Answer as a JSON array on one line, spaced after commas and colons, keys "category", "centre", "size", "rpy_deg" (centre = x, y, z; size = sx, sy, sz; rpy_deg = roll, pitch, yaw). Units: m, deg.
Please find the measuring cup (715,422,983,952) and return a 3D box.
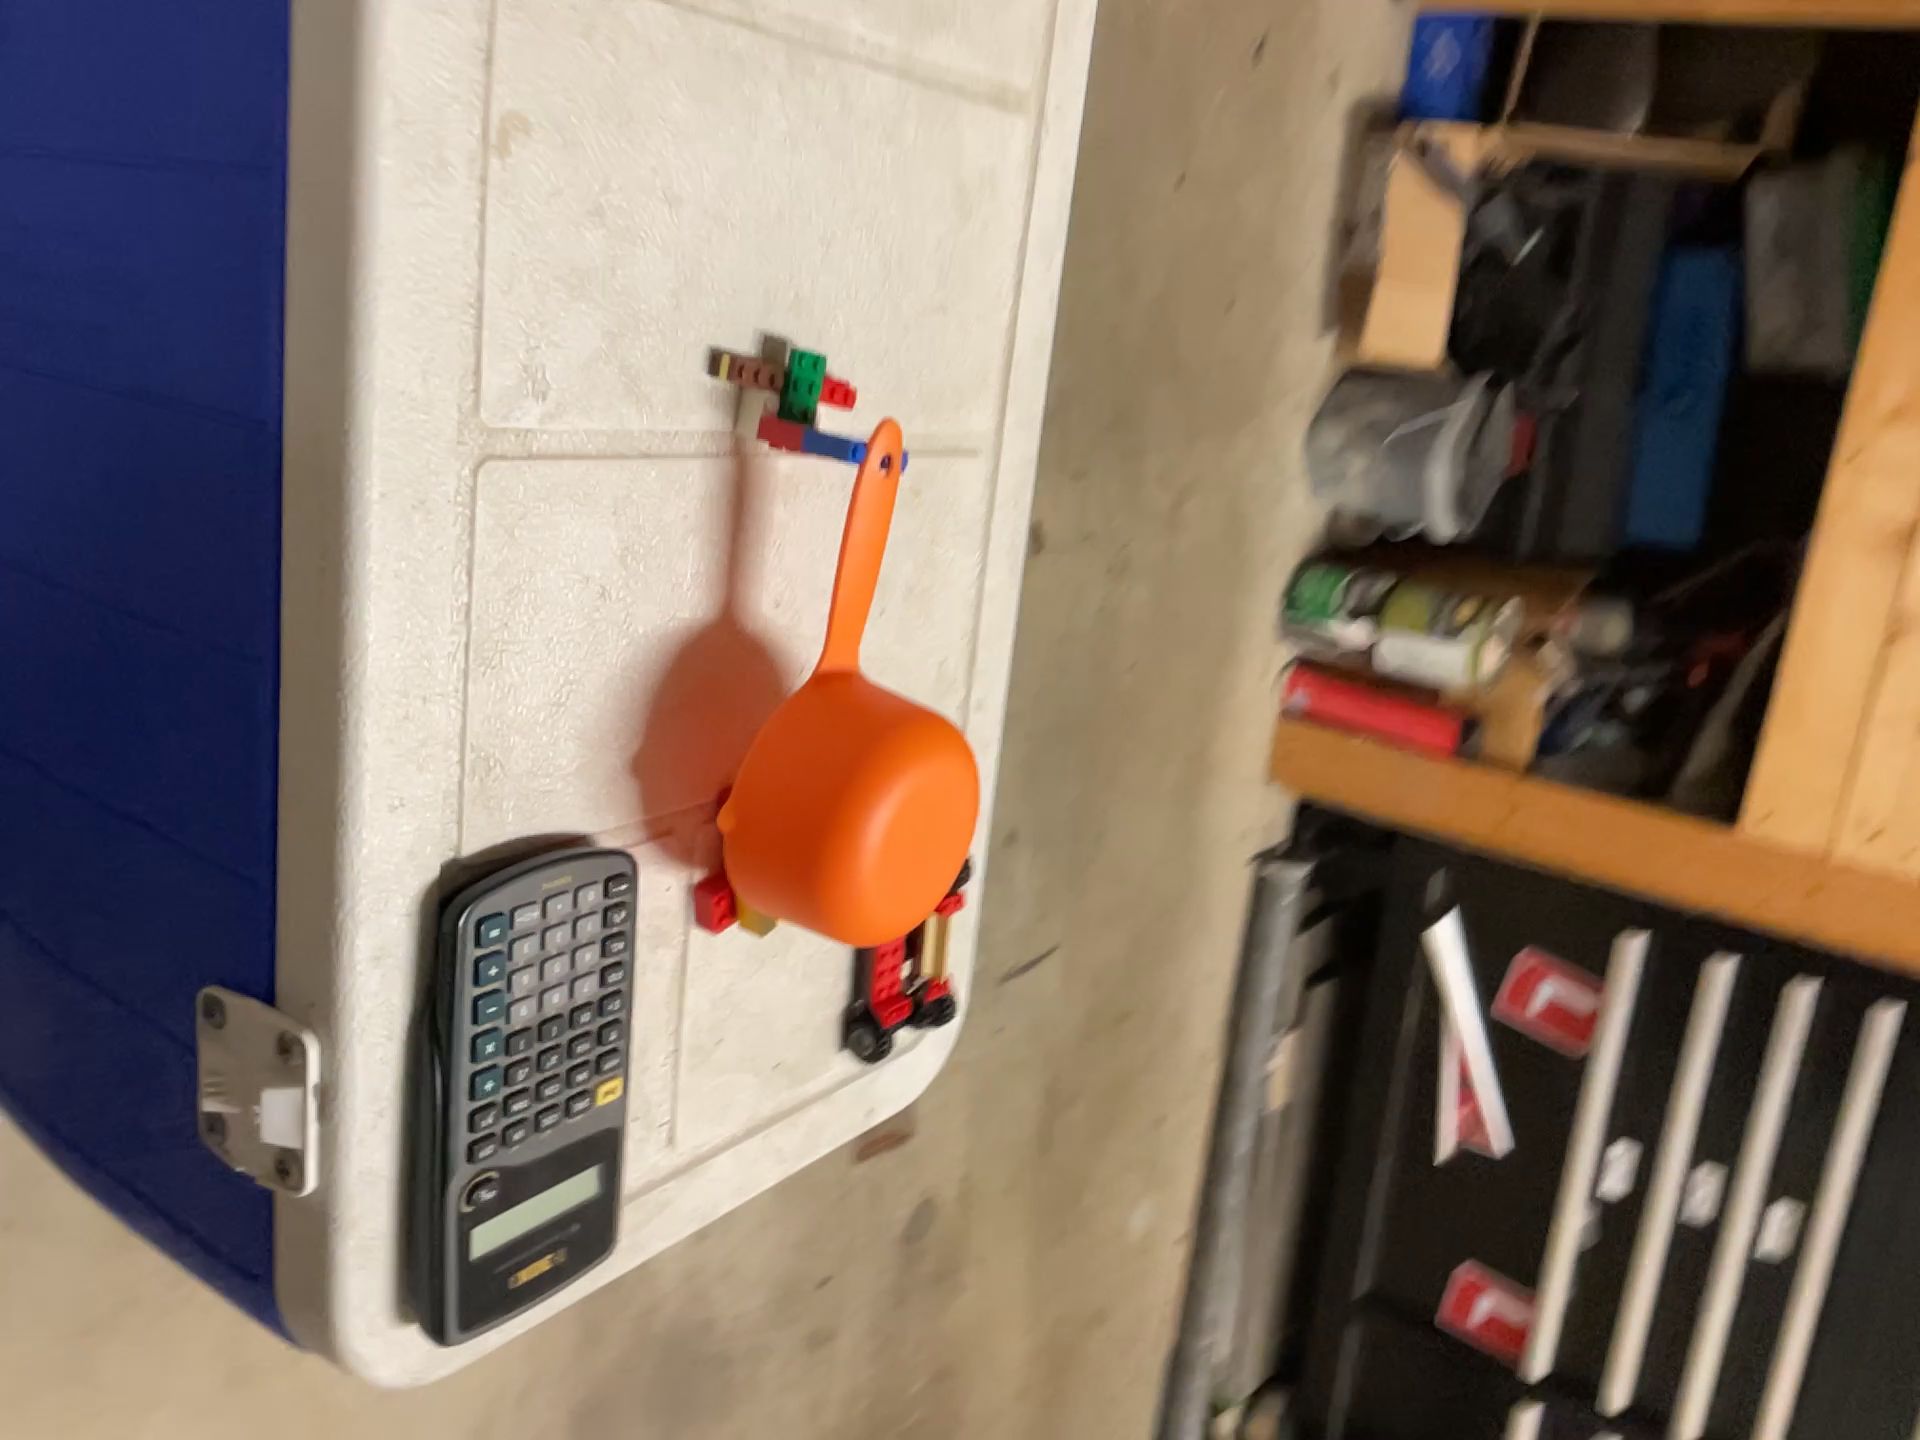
[{"category": "measuring cup", "centre": [-0.022, -0.006, 0.520], "size": [0.095, 0.052, 0.173], "rpy_deg": [-12, 120, -56]}]
